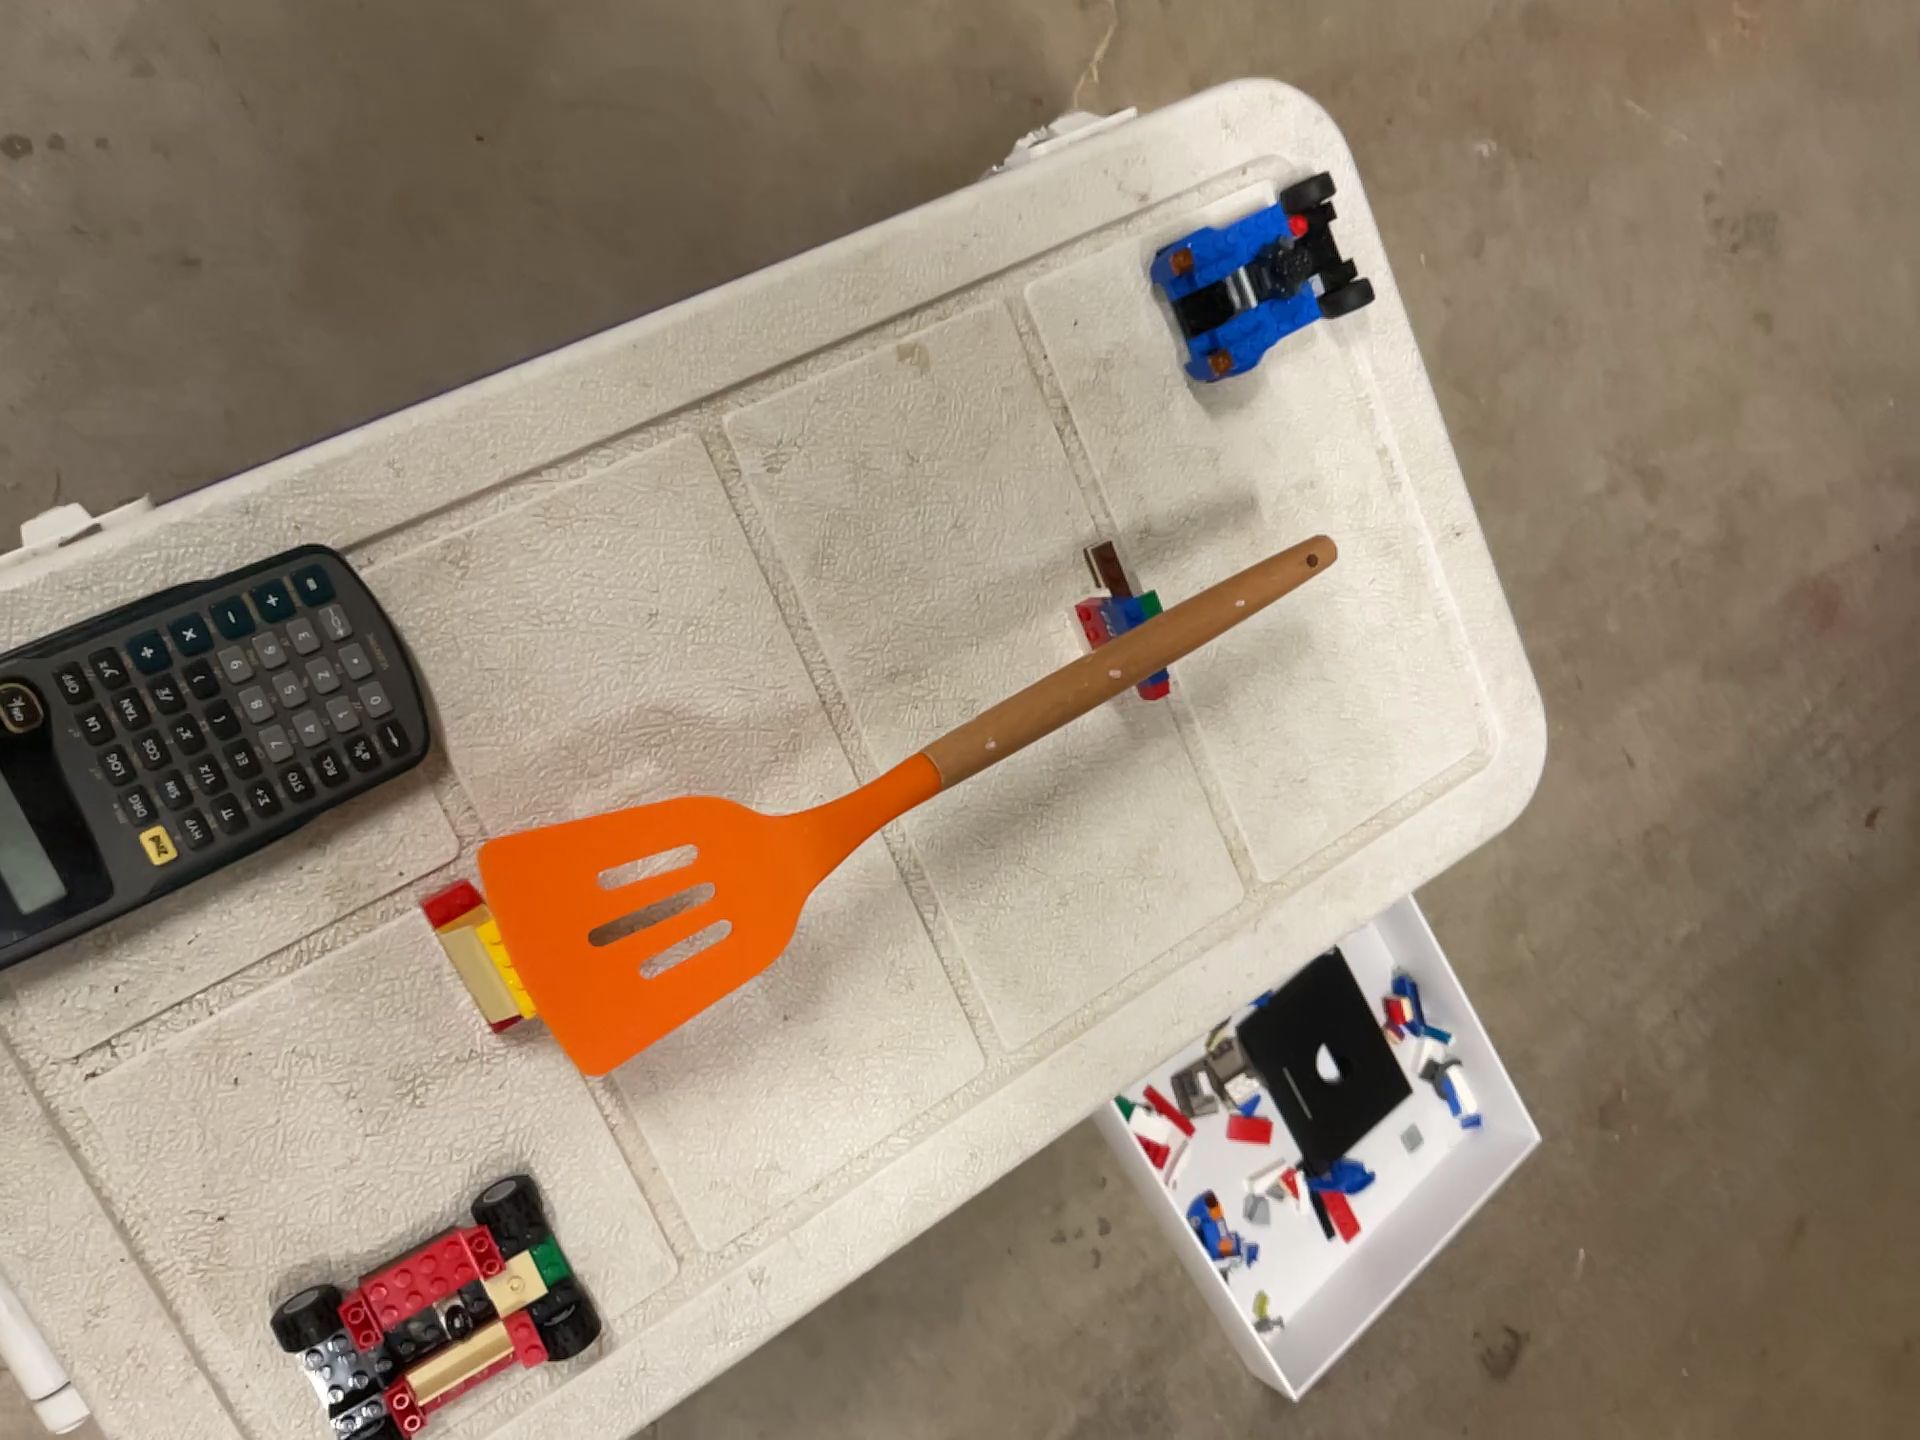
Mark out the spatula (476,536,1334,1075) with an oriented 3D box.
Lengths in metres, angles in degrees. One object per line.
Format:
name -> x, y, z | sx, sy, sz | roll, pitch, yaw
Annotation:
spatula -> 0.003, 0.006, 0.533 | 0.323, 0.041, 0.081 | -29, 102, -26
